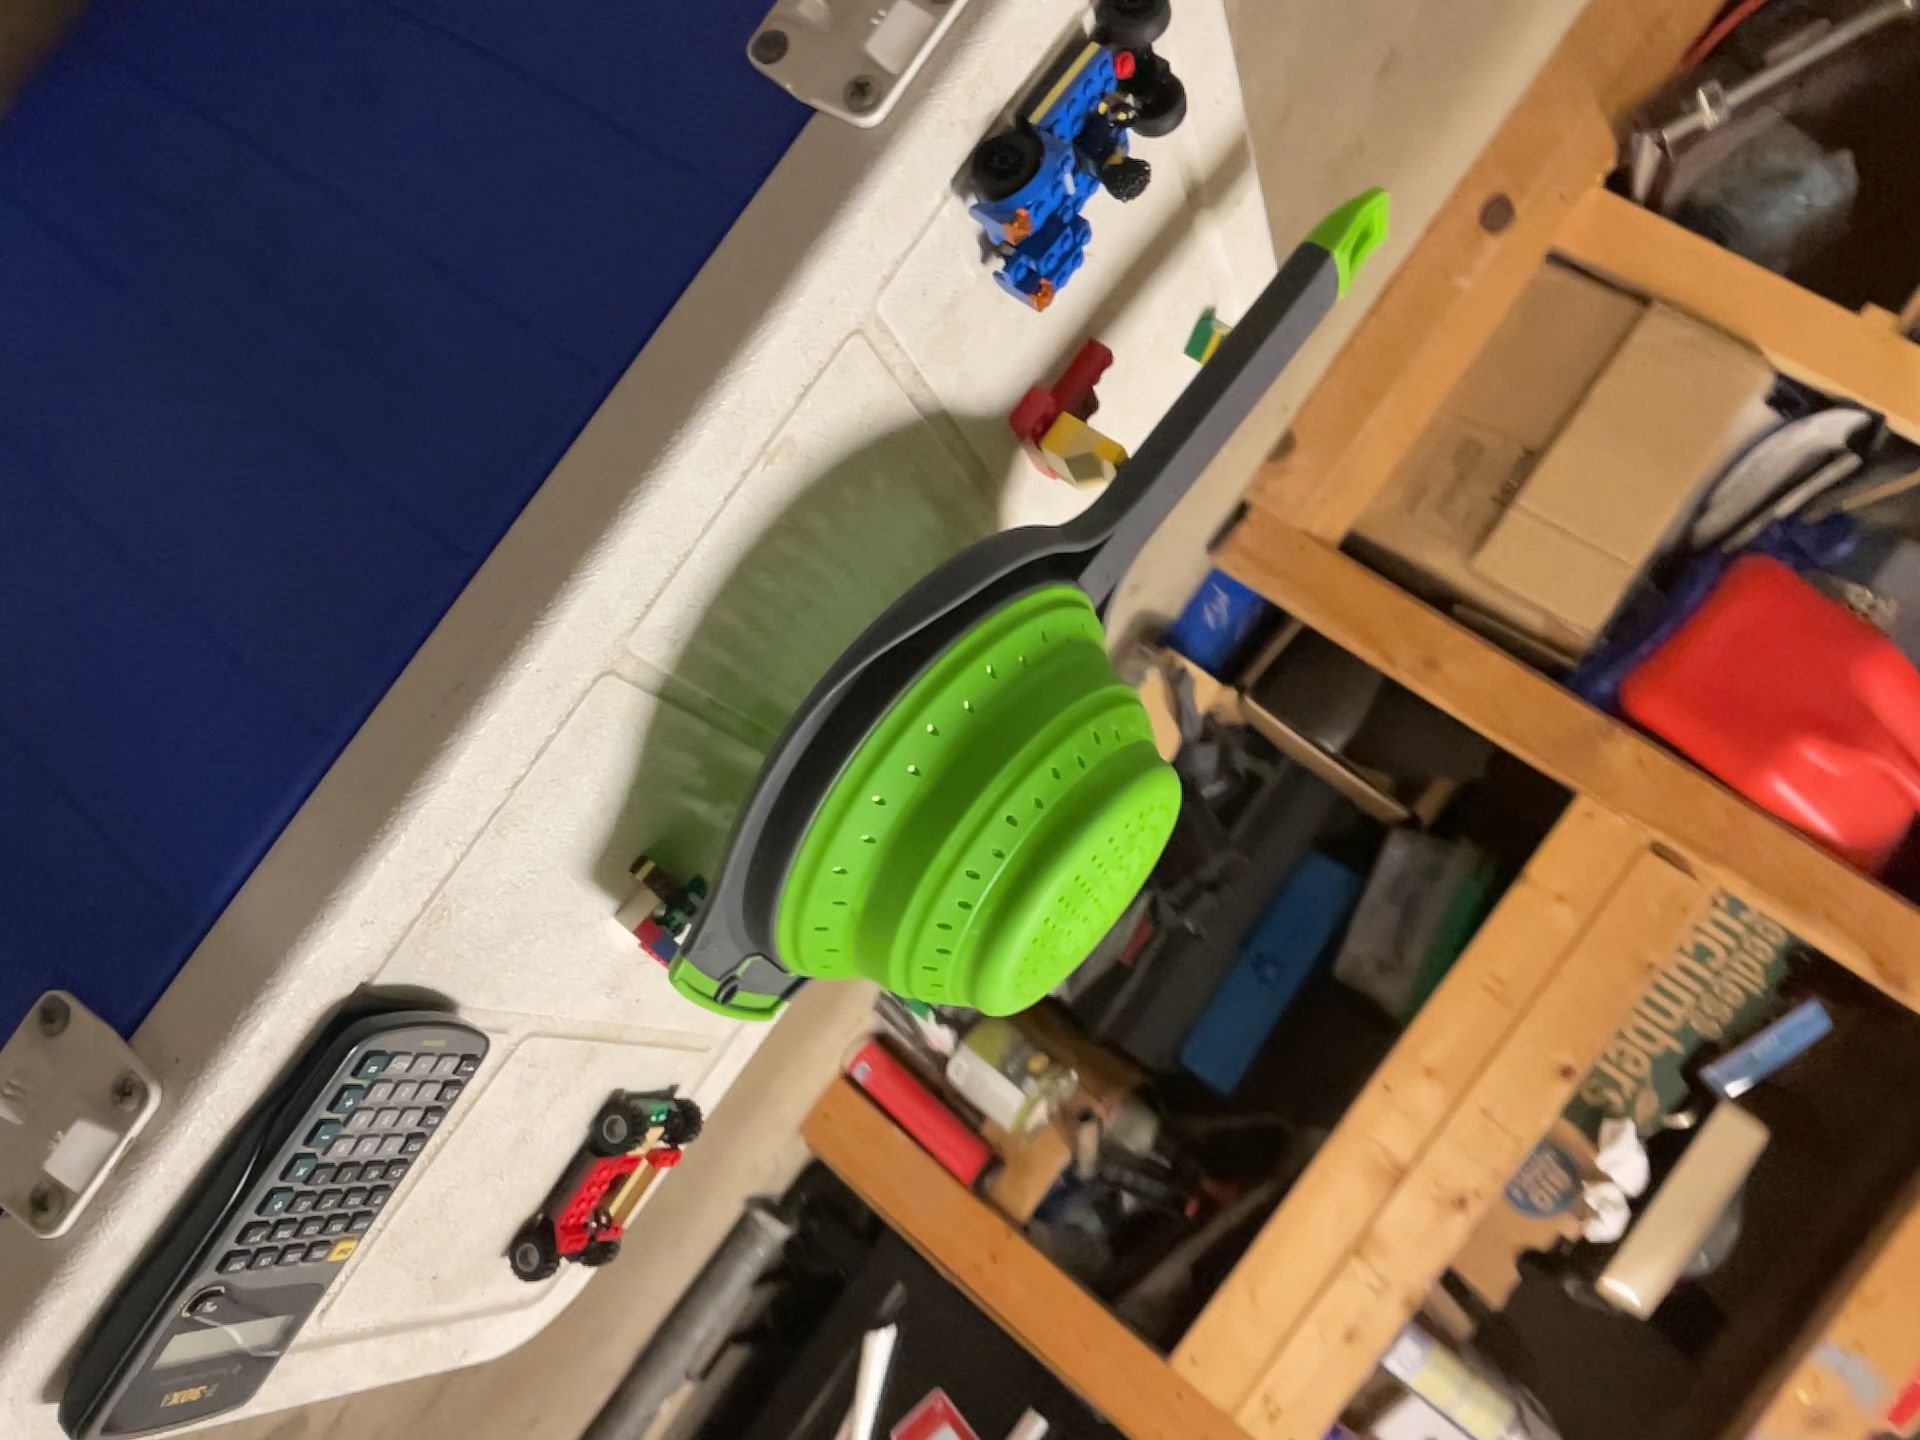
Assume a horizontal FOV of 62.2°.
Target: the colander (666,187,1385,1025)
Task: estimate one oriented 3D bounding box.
[{"bbox_3d":[0.063,-0.026,0.584,0.397,0.095,0.204,-51,159,-6],"label":"colander"}]
